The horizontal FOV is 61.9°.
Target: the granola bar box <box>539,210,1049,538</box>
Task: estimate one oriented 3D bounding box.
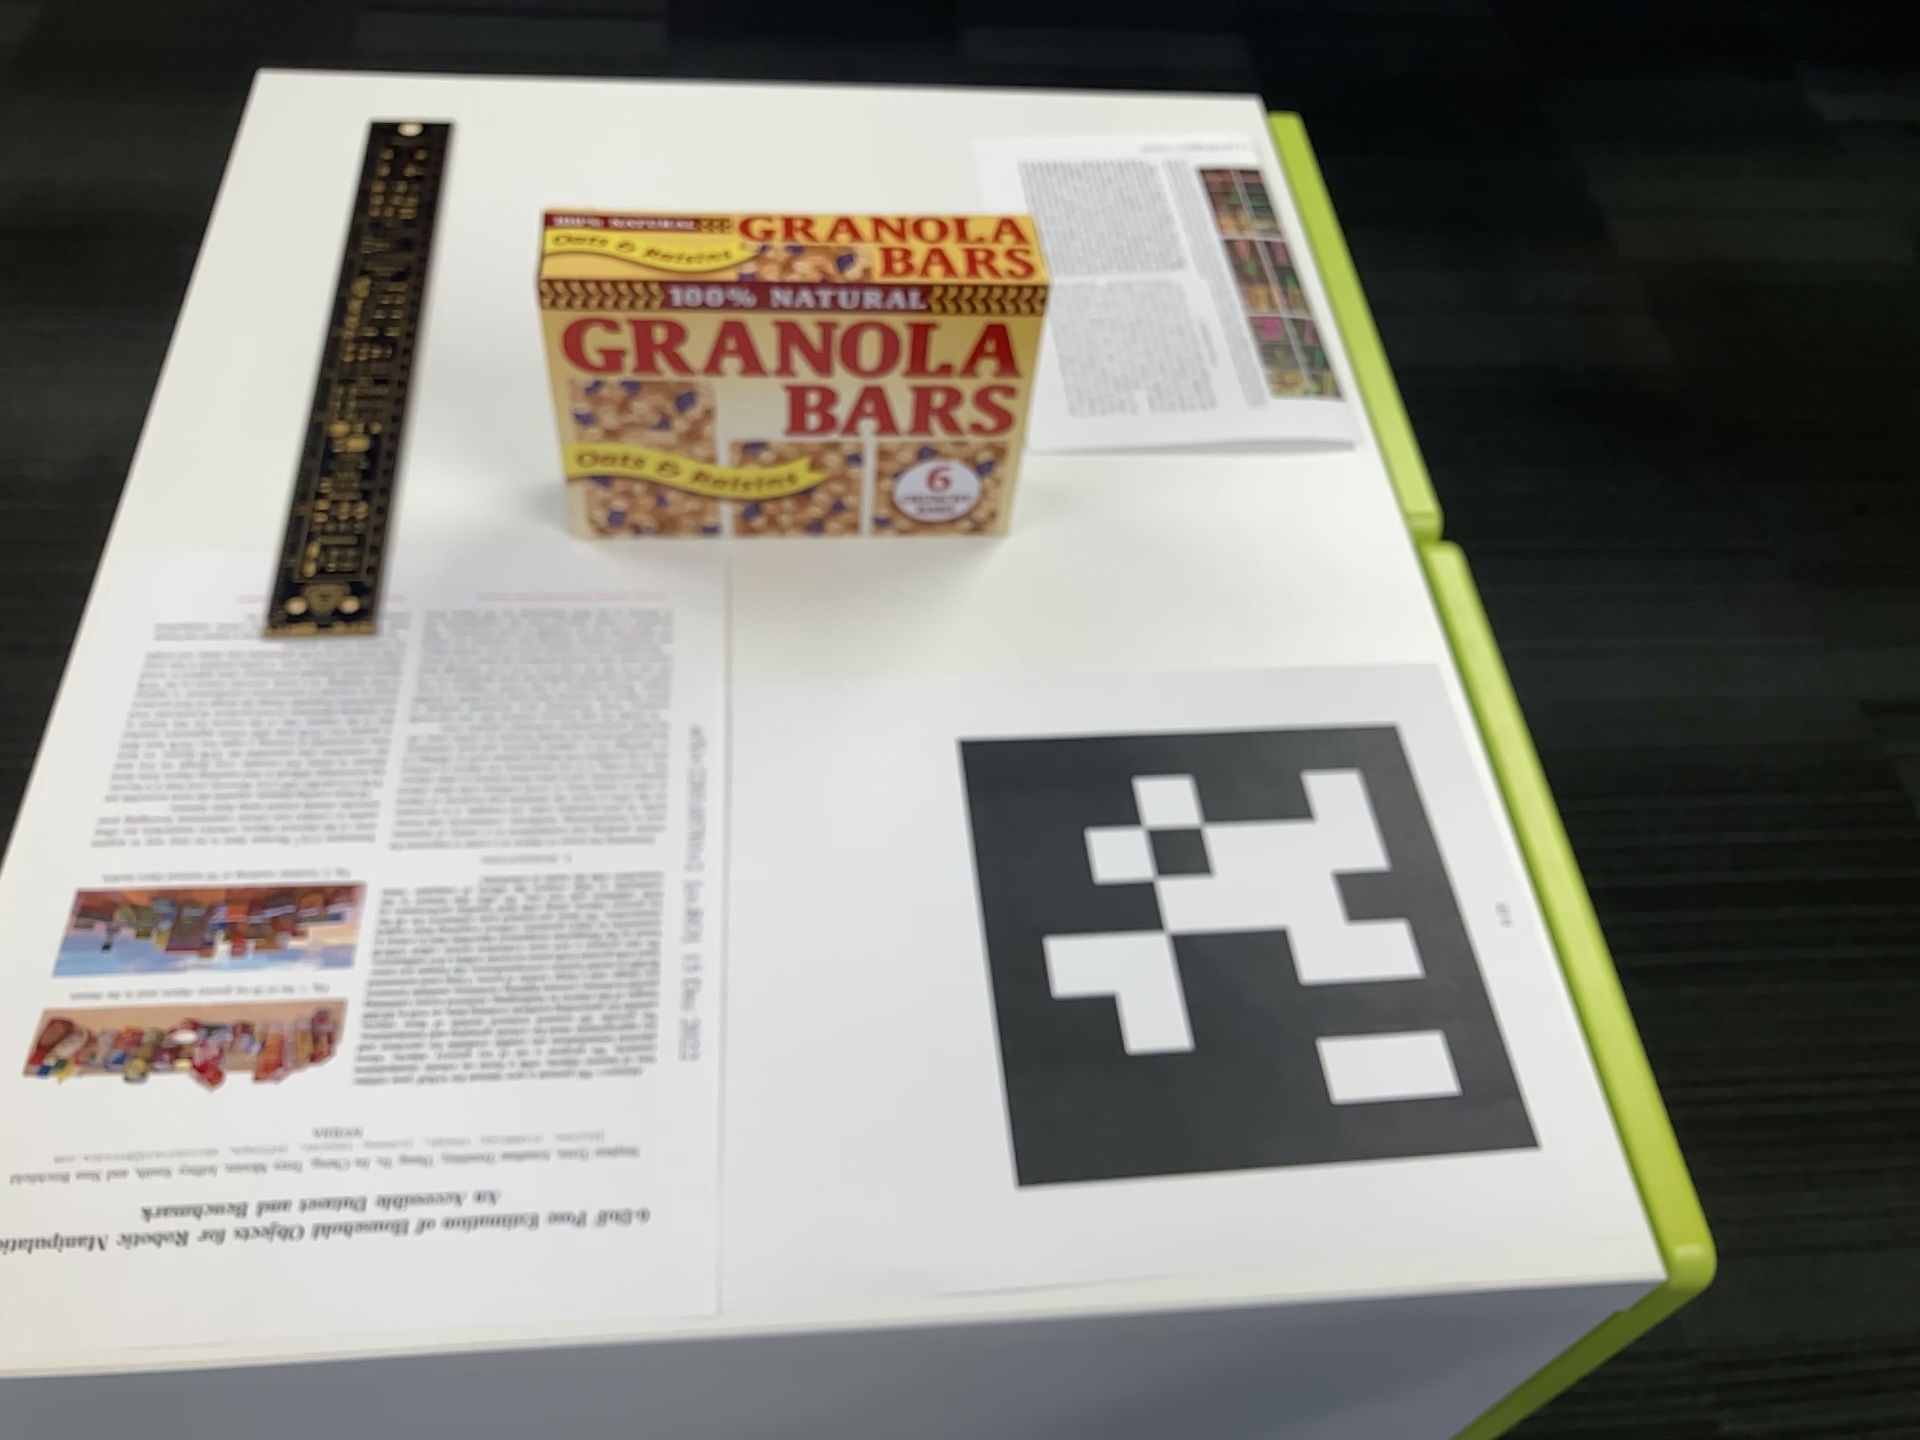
[{"bbox_3d":[-0.059,-0.122,0.579,0.165,0.124,0.039,-1,54,-7],"label":"granola bar box"}]
